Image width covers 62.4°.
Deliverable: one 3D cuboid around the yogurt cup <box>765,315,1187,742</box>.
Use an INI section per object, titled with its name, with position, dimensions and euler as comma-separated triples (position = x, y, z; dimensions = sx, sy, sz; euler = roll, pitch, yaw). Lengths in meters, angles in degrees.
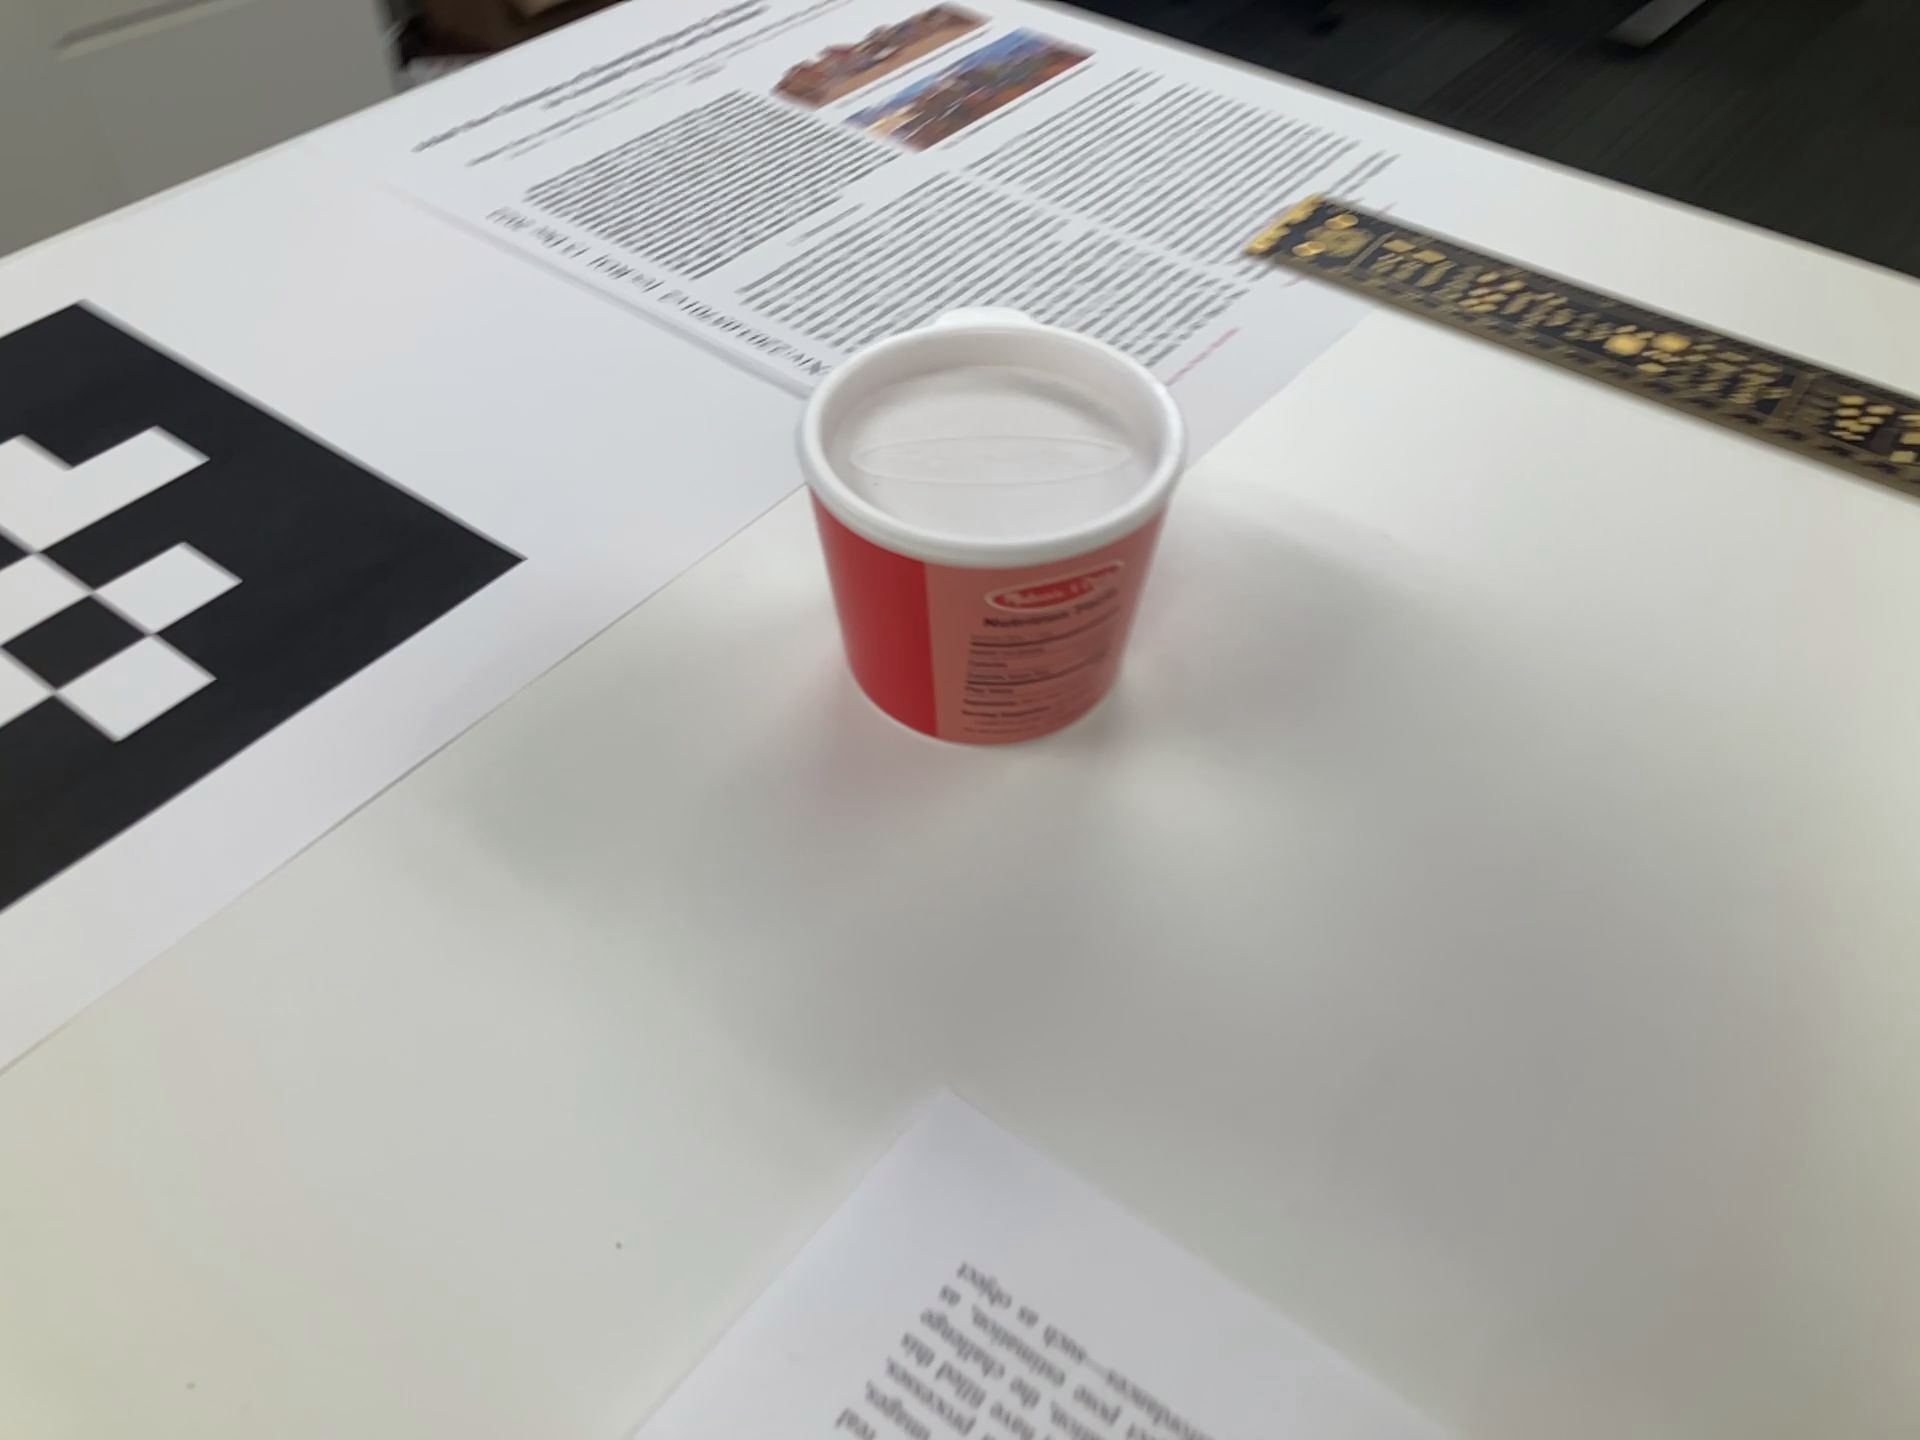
[yogurt cup]
position = 0.005, -0.033, 0.291
dimensions = 0.072, 0.054, 0.072
euler = 0, 47, -1
